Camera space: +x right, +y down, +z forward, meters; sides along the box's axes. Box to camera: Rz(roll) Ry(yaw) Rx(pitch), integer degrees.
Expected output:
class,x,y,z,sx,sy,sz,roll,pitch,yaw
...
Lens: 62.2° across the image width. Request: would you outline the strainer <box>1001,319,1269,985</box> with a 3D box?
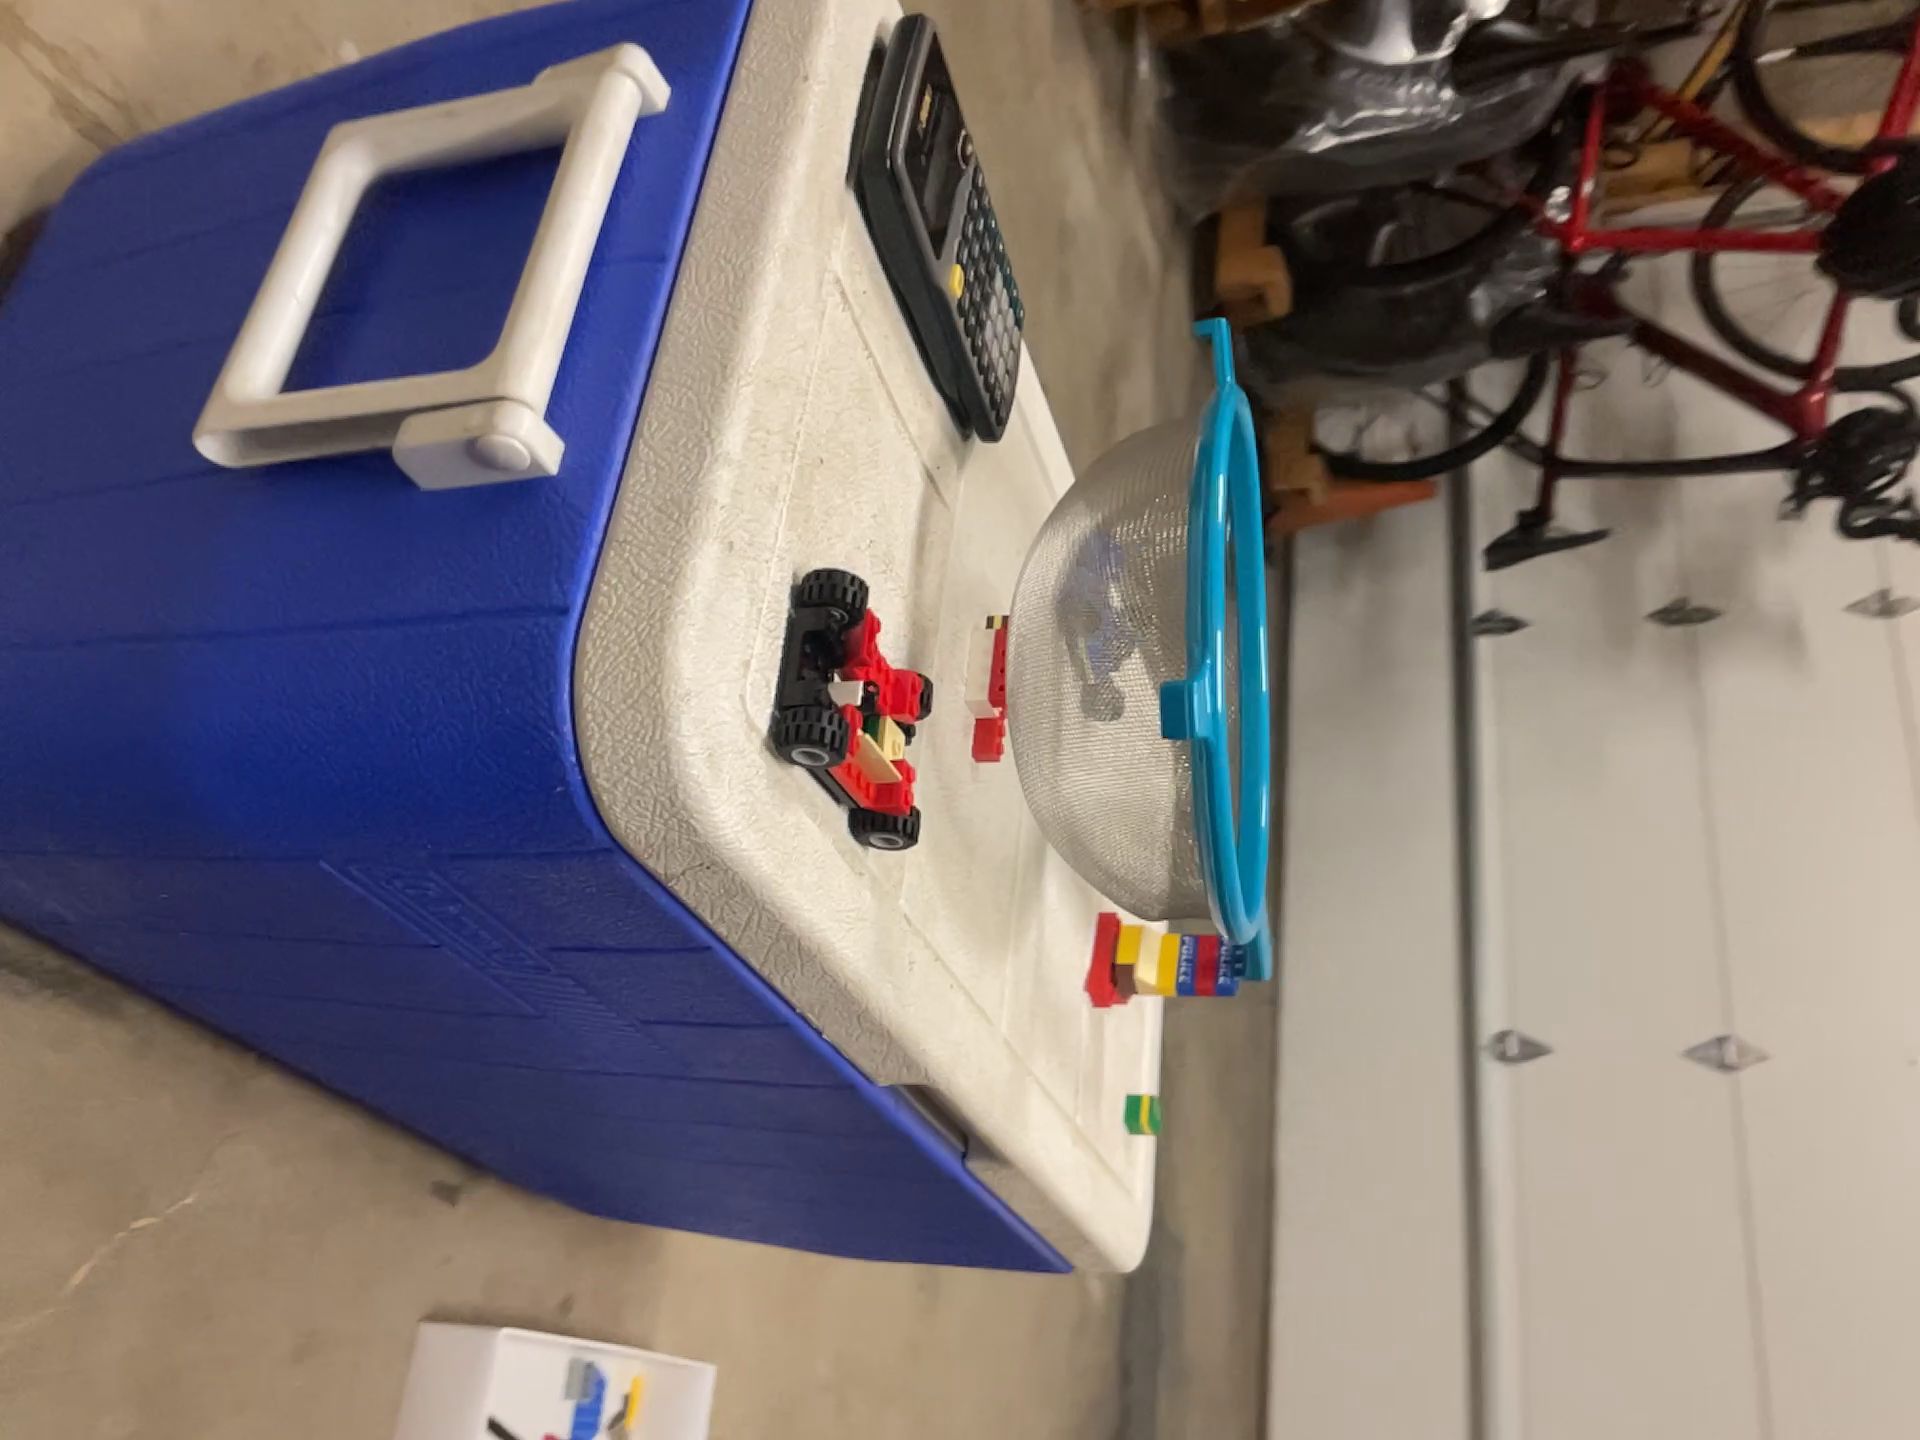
class,x,y,z,sx,sy,sz,roll,pitch,yaw
strainer,0.078,0.019,0.664,0.339,0.095,0.211,73,21,-50
